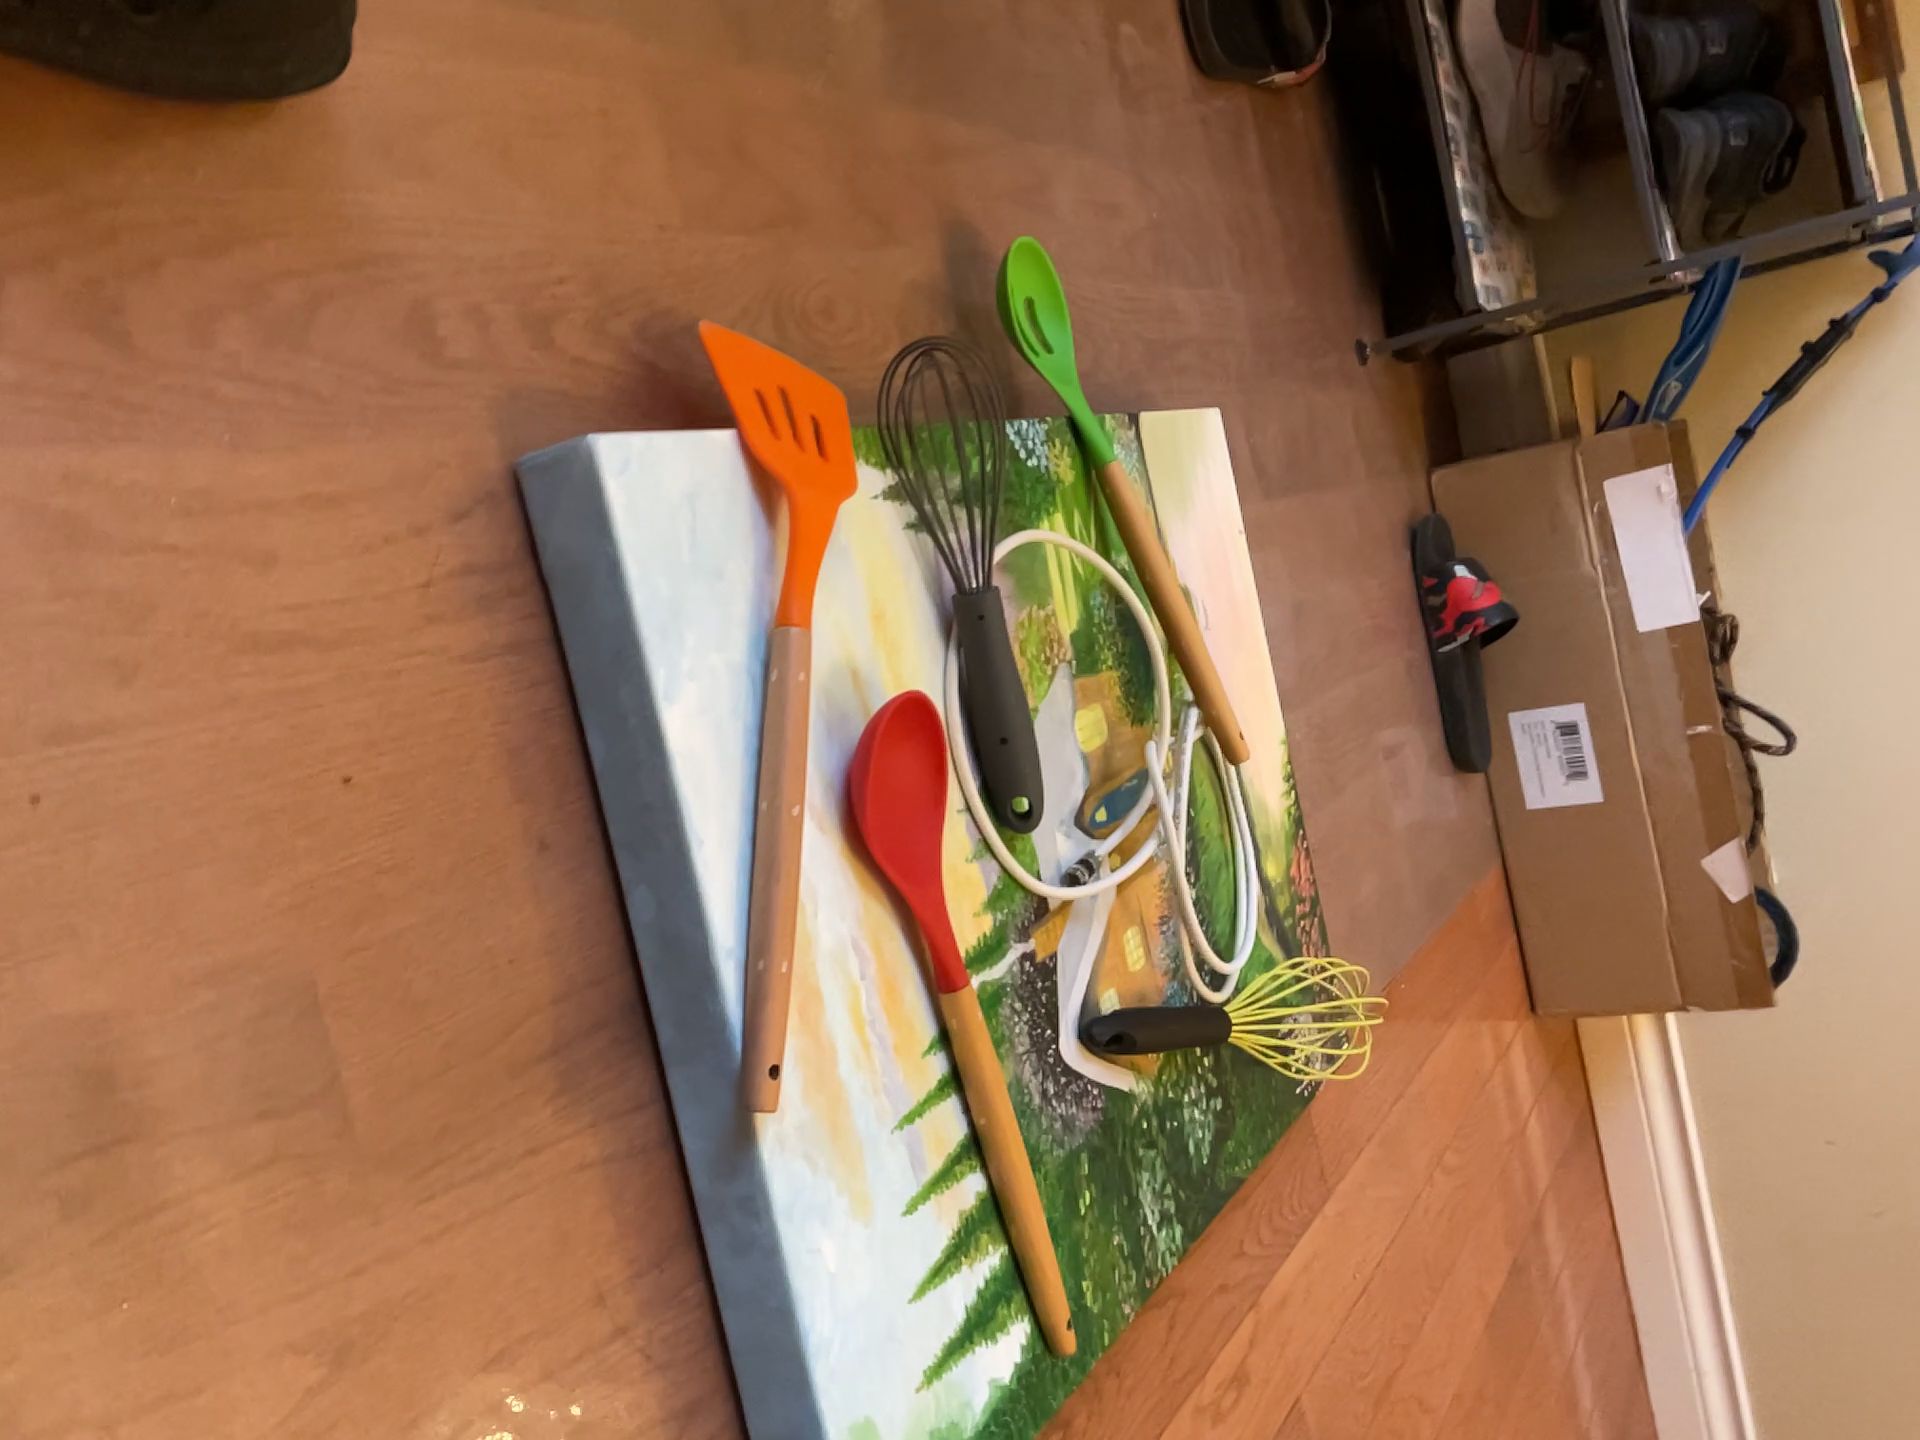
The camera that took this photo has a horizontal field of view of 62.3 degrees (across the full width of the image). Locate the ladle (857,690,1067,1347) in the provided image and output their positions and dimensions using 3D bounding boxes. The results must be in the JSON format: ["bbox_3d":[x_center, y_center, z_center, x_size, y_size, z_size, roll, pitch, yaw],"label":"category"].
[{"bbox_3d":[0.006,0.139,0.700,0.069,0.031,0.315,-34,113,-55],"label":"ladle"}]

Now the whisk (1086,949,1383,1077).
[{"bbox_3d":[0.161,0.174,0.920,0.311,0.067,0.080,9,68,-51],"label":"whisk"}]

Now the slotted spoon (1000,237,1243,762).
[{"bbox_3d":[0.091,-0.121,0.895,0.070,0.031,0.314,-25,91,-58],"label":"slotted spoon"}]

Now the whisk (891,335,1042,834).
[{"bbox_3d":[0.010,-0.058,0.742,0.055,0.055,0.239,-28,112,-46],"label":"whisk"}]

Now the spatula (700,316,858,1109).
[{"bbox_3d":[-0.074,-0.012,0.631,0.080,0.041,0.323,18,68,-43],"label":"spatula"}]
